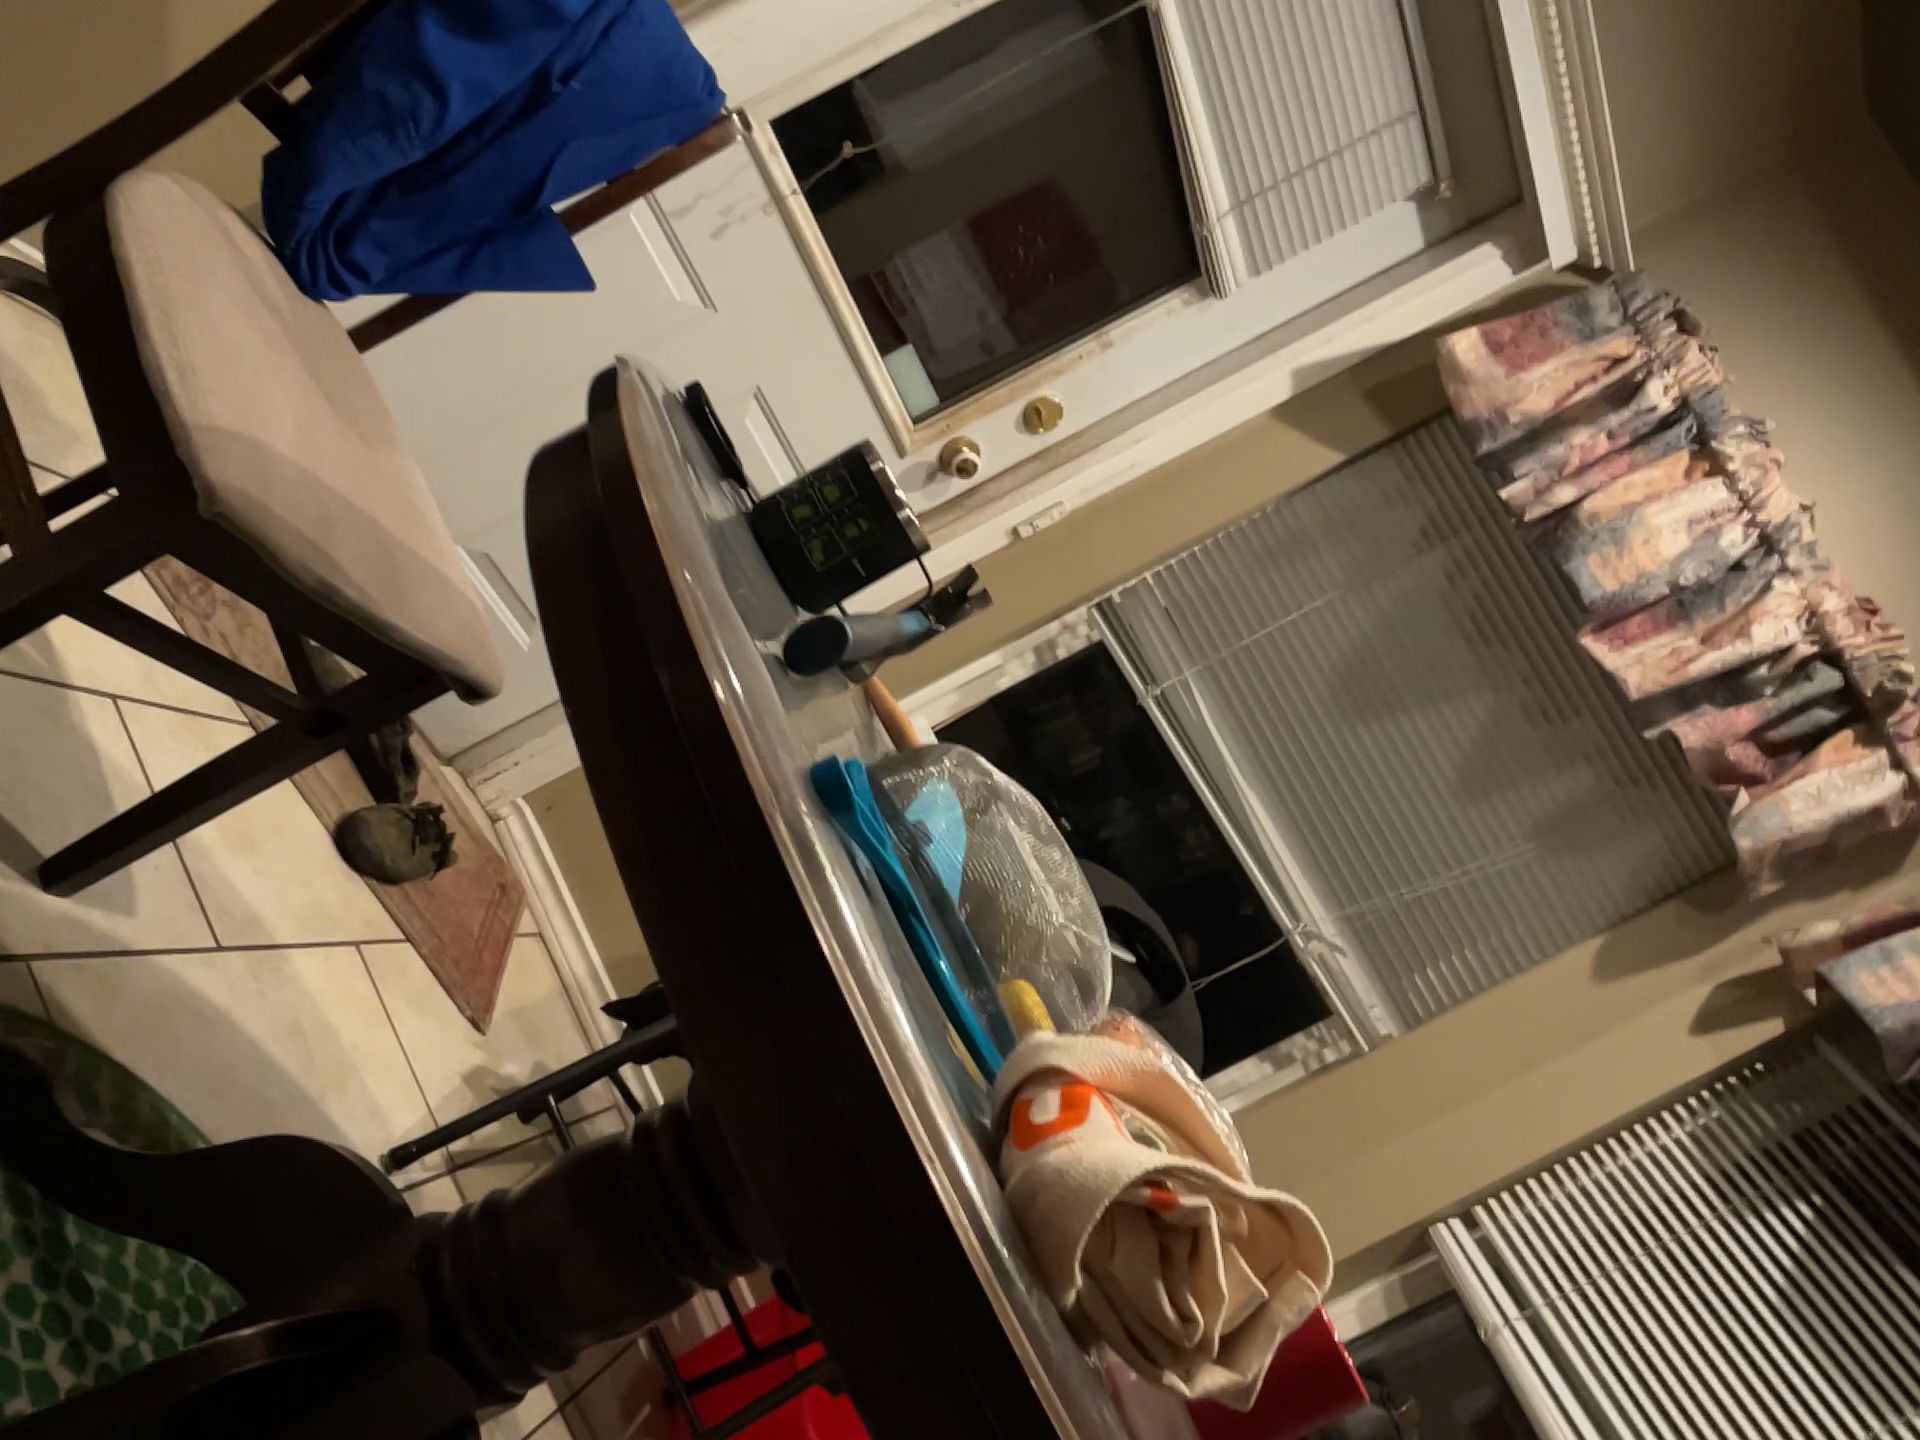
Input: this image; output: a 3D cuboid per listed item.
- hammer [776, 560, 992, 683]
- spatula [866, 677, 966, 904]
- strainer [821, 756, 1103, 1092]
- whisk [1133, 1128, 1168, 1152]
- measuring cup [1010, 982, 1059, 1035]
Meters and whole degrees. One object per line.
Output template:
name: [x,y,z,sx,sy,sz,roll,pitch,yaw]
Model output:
hammer: [-0.056,-0.055,1.030,0.033,0.128,0.331,59,11,0]
spatula: [-0.041,0.032,1.146,0.082,0.044,0.318,60,-1,-26]
strainer: [0.010,0.074,0.813,0.211,0.095,0.340,62,-2,25]
whisk: [0.105,0.266,0.848,0.246,0.058,0.059,74,22,-55]
measuring cup: [0.055,0.214,0.947,0.062,0.029,0.157,60,1,-36]
